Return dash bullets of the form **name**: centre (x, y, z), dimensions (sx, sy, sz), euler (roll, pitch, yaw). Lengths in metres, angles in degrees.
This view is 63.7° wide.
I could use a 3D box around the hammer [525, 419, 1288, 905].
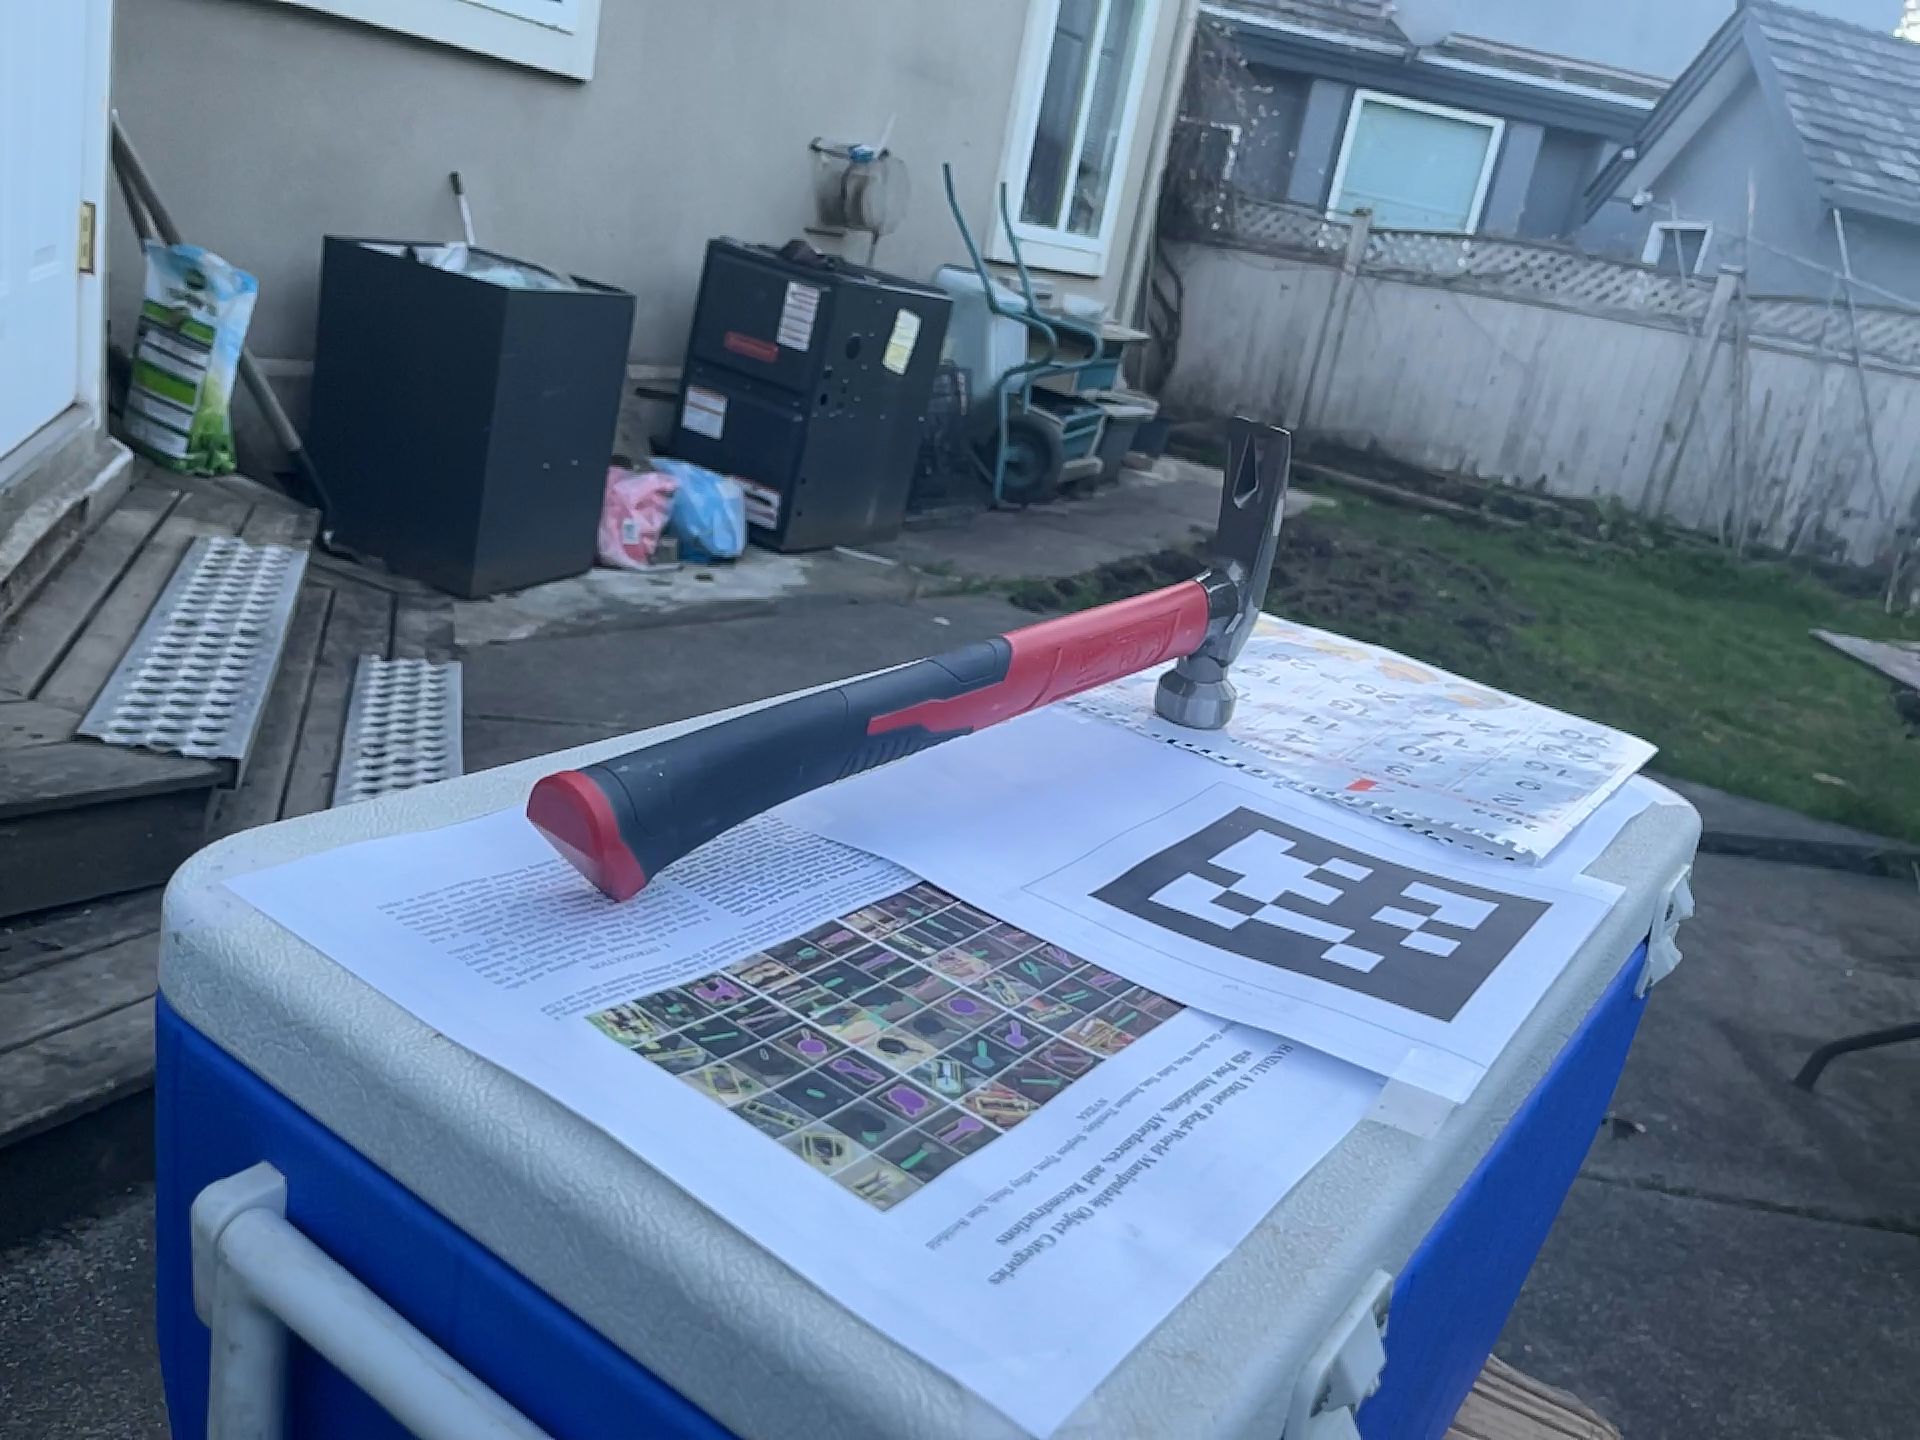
- **hammer**: centre (0.009, -0.026, 0.581), dimensions (0.038, 0.143, 0.386), euler (24, 28, 33)
